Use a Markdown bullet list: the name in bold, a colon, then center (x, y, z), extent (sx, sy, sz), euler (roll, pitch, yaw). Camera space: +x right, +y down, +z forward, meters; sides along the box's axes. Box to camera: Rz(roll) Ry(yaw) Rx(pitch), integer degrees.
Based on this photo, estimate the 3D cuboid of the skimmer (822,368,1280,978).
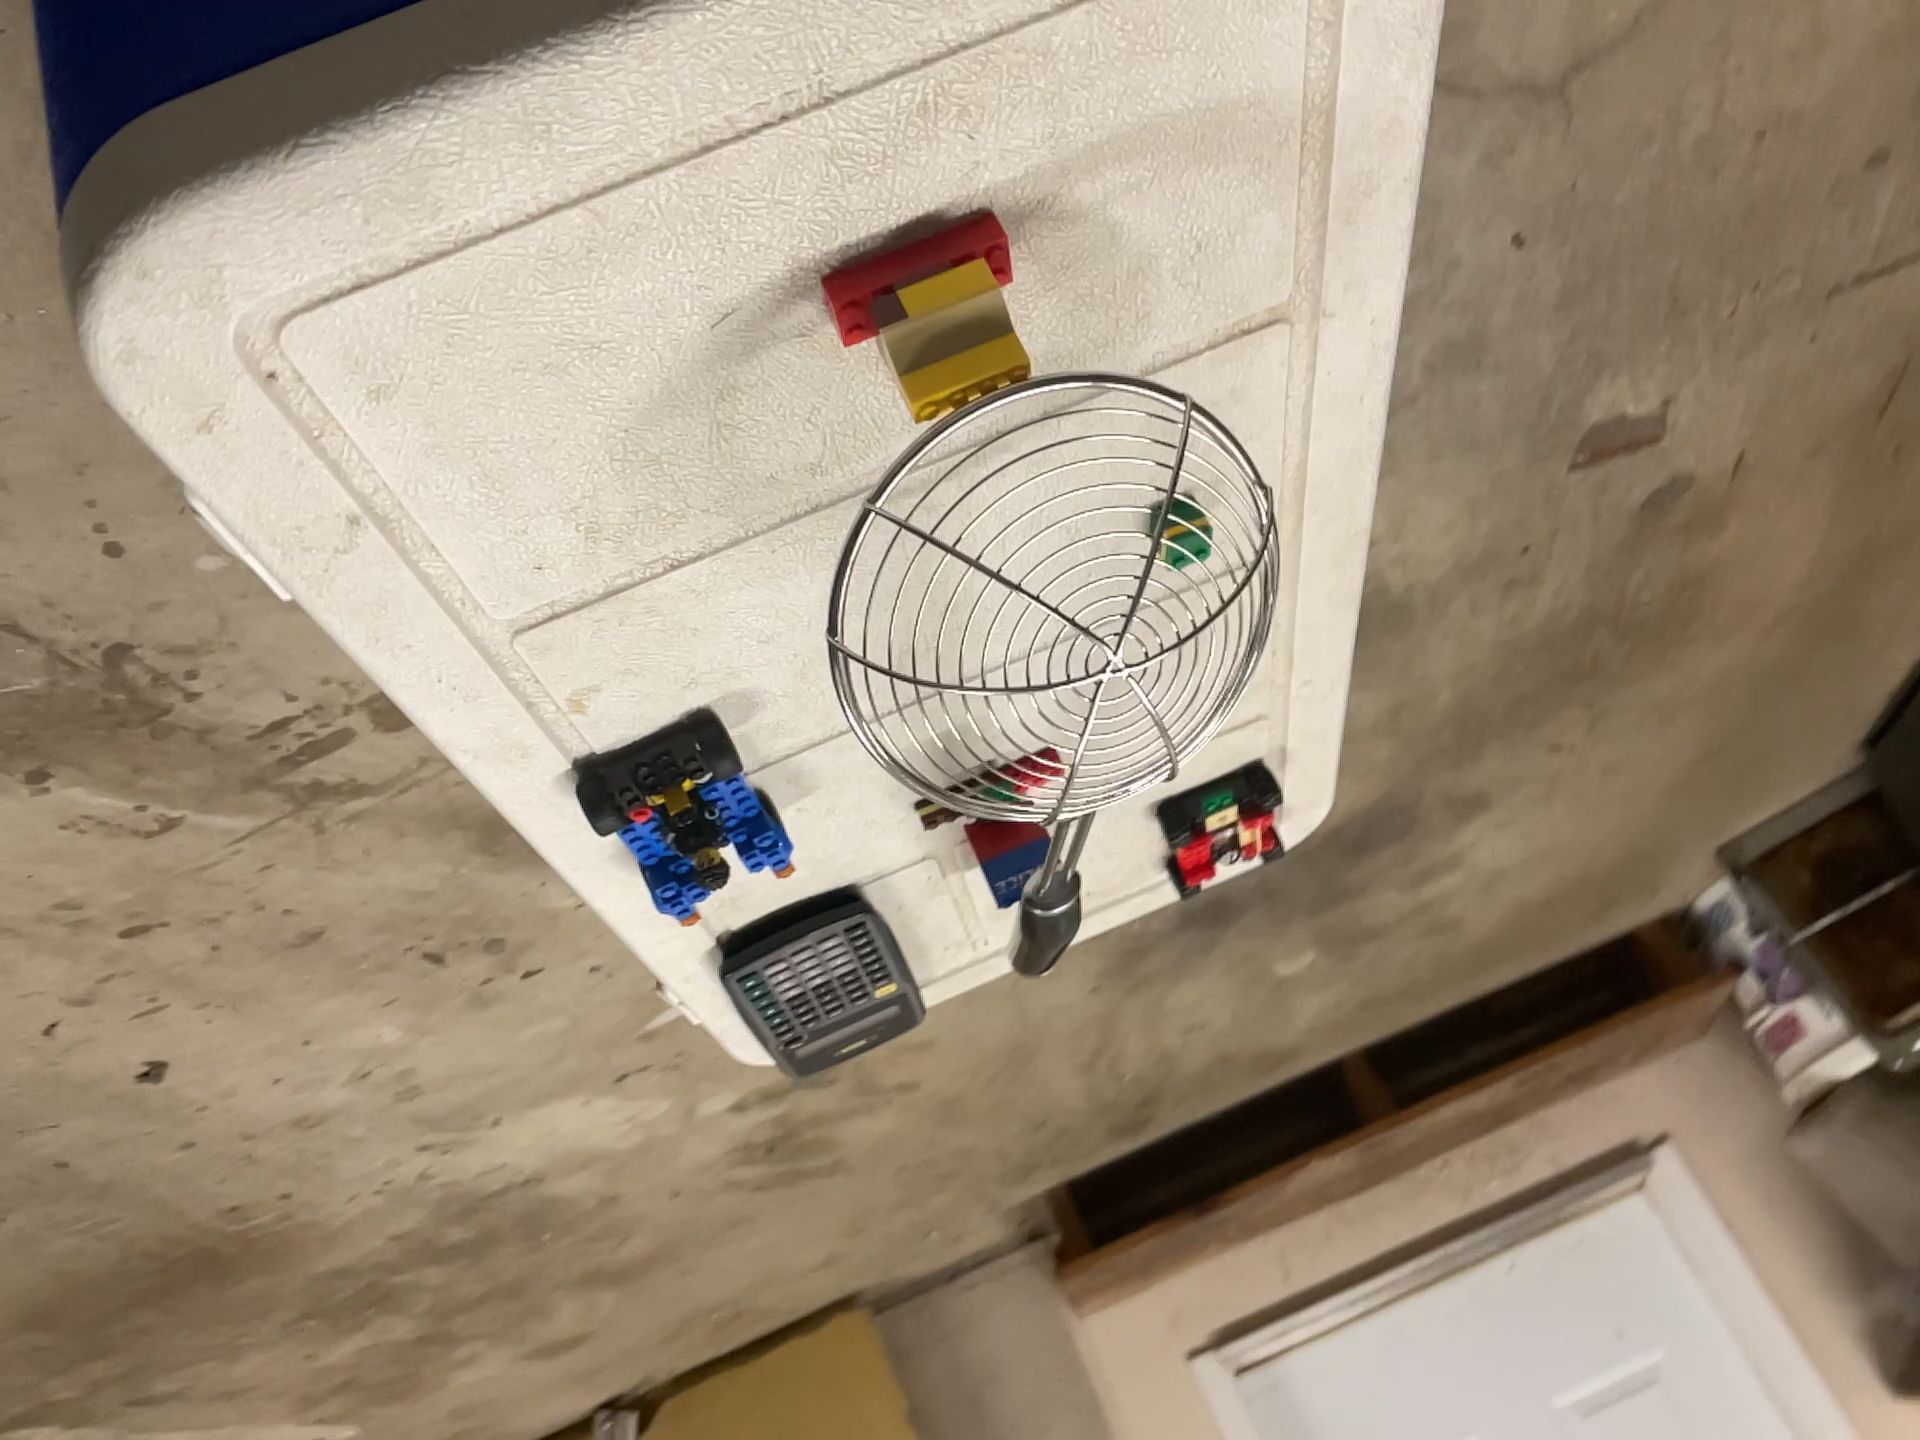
- **skimmer**: center (0.025, 0.016, 0.544), extent (0.127, 0.090, 0.363), euler (-20, 162, -8)
